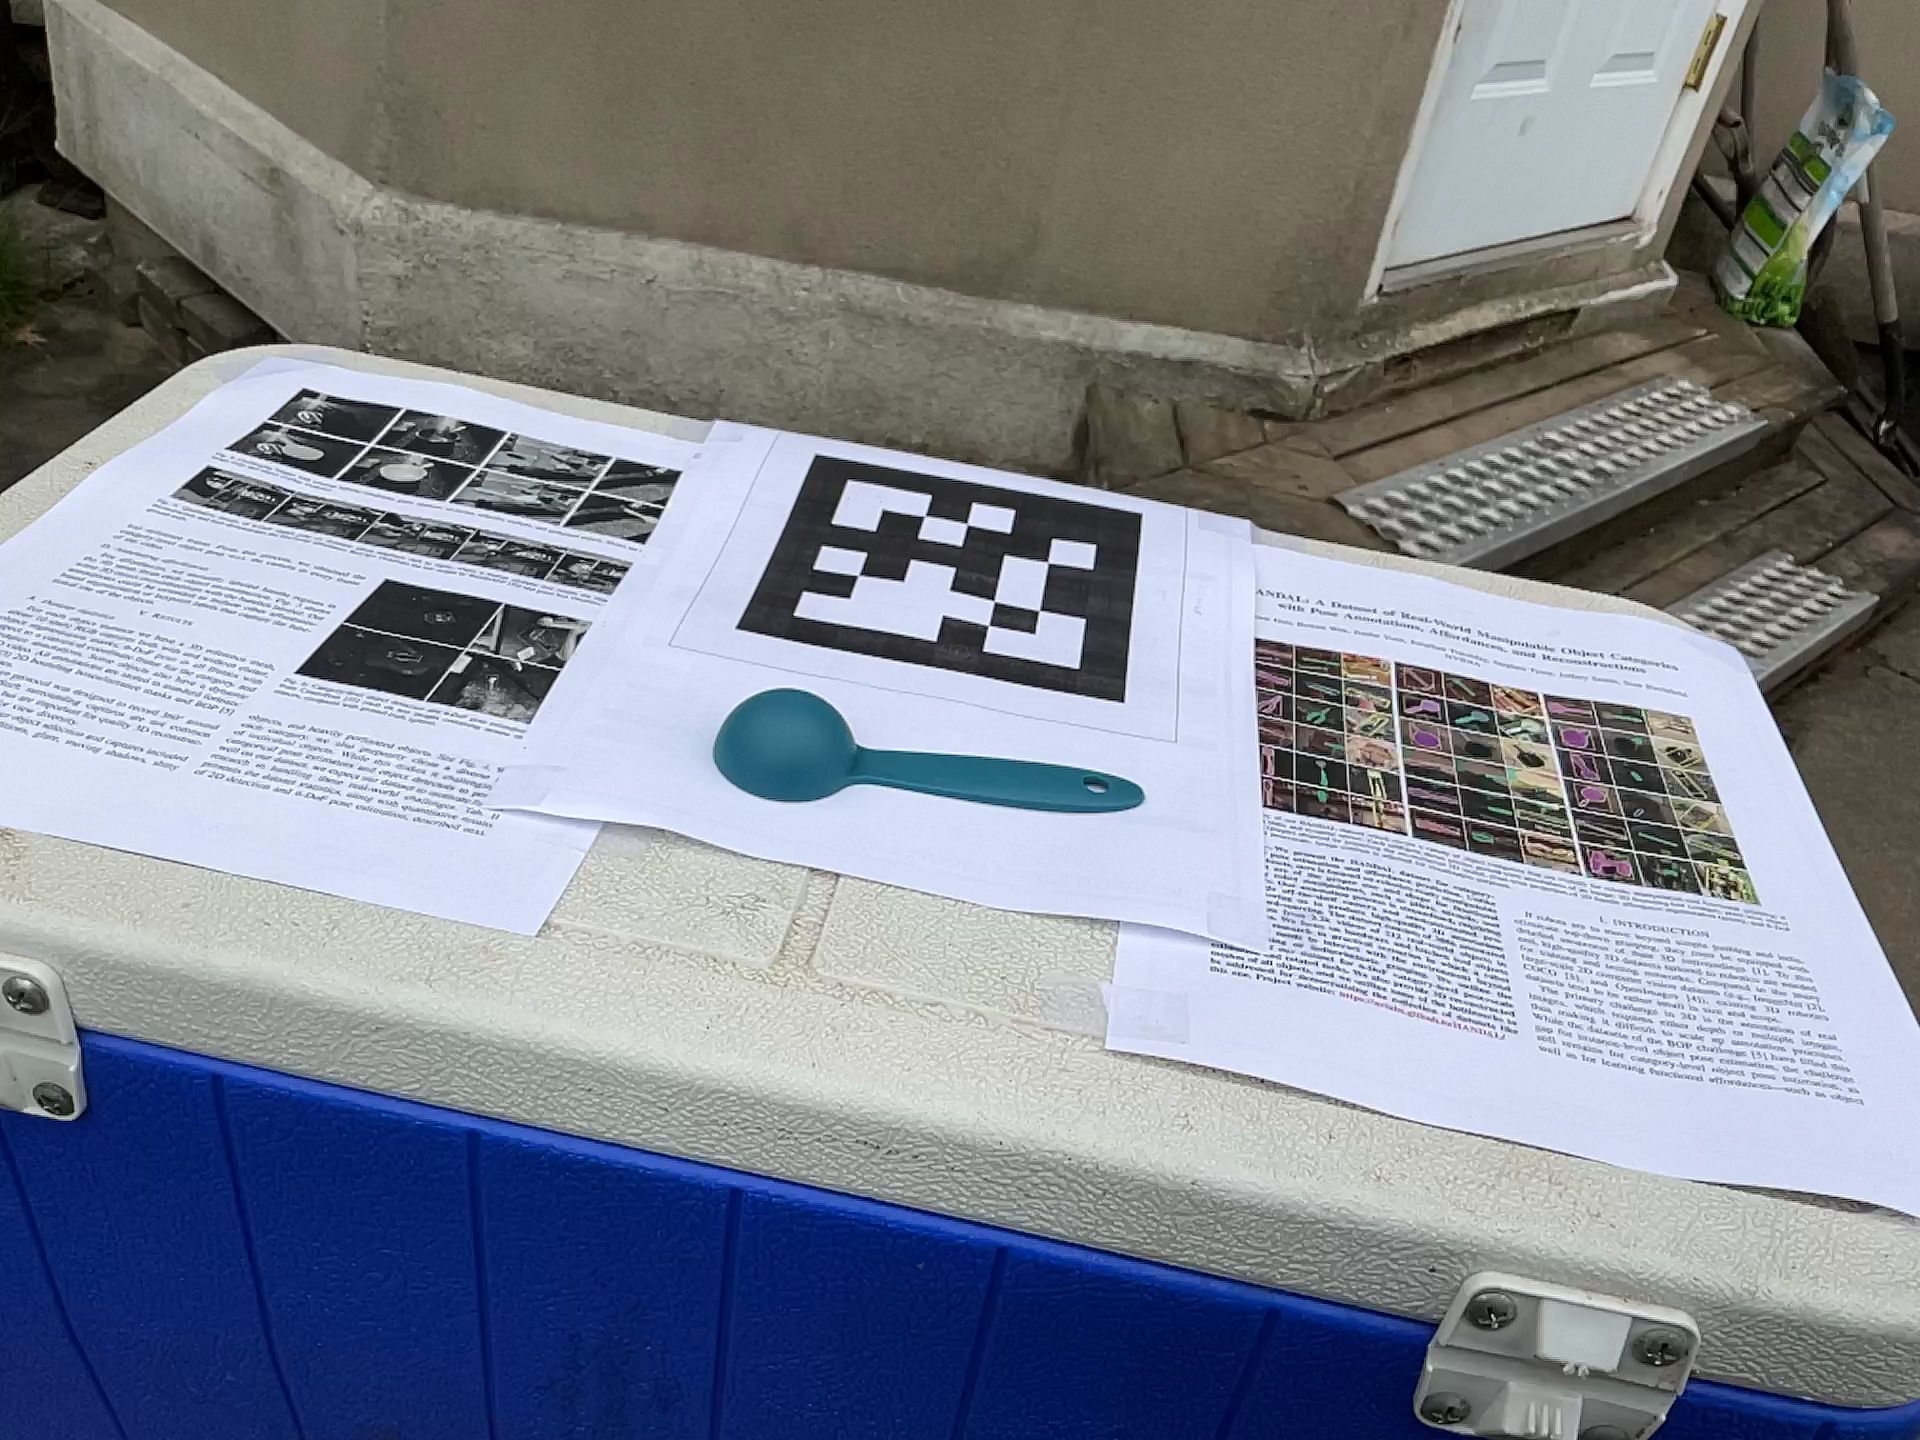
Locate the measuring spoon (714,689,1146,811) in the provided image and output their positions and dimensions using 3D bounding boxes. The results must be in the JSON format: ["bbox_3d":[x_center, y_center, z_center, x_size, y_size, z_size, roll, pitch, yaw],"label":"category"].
[{"bbox_3d":[-0.007,0.008,0.471,0.128,0.021,0.042,7,29,-5],"label":"measuring spoon"}]
